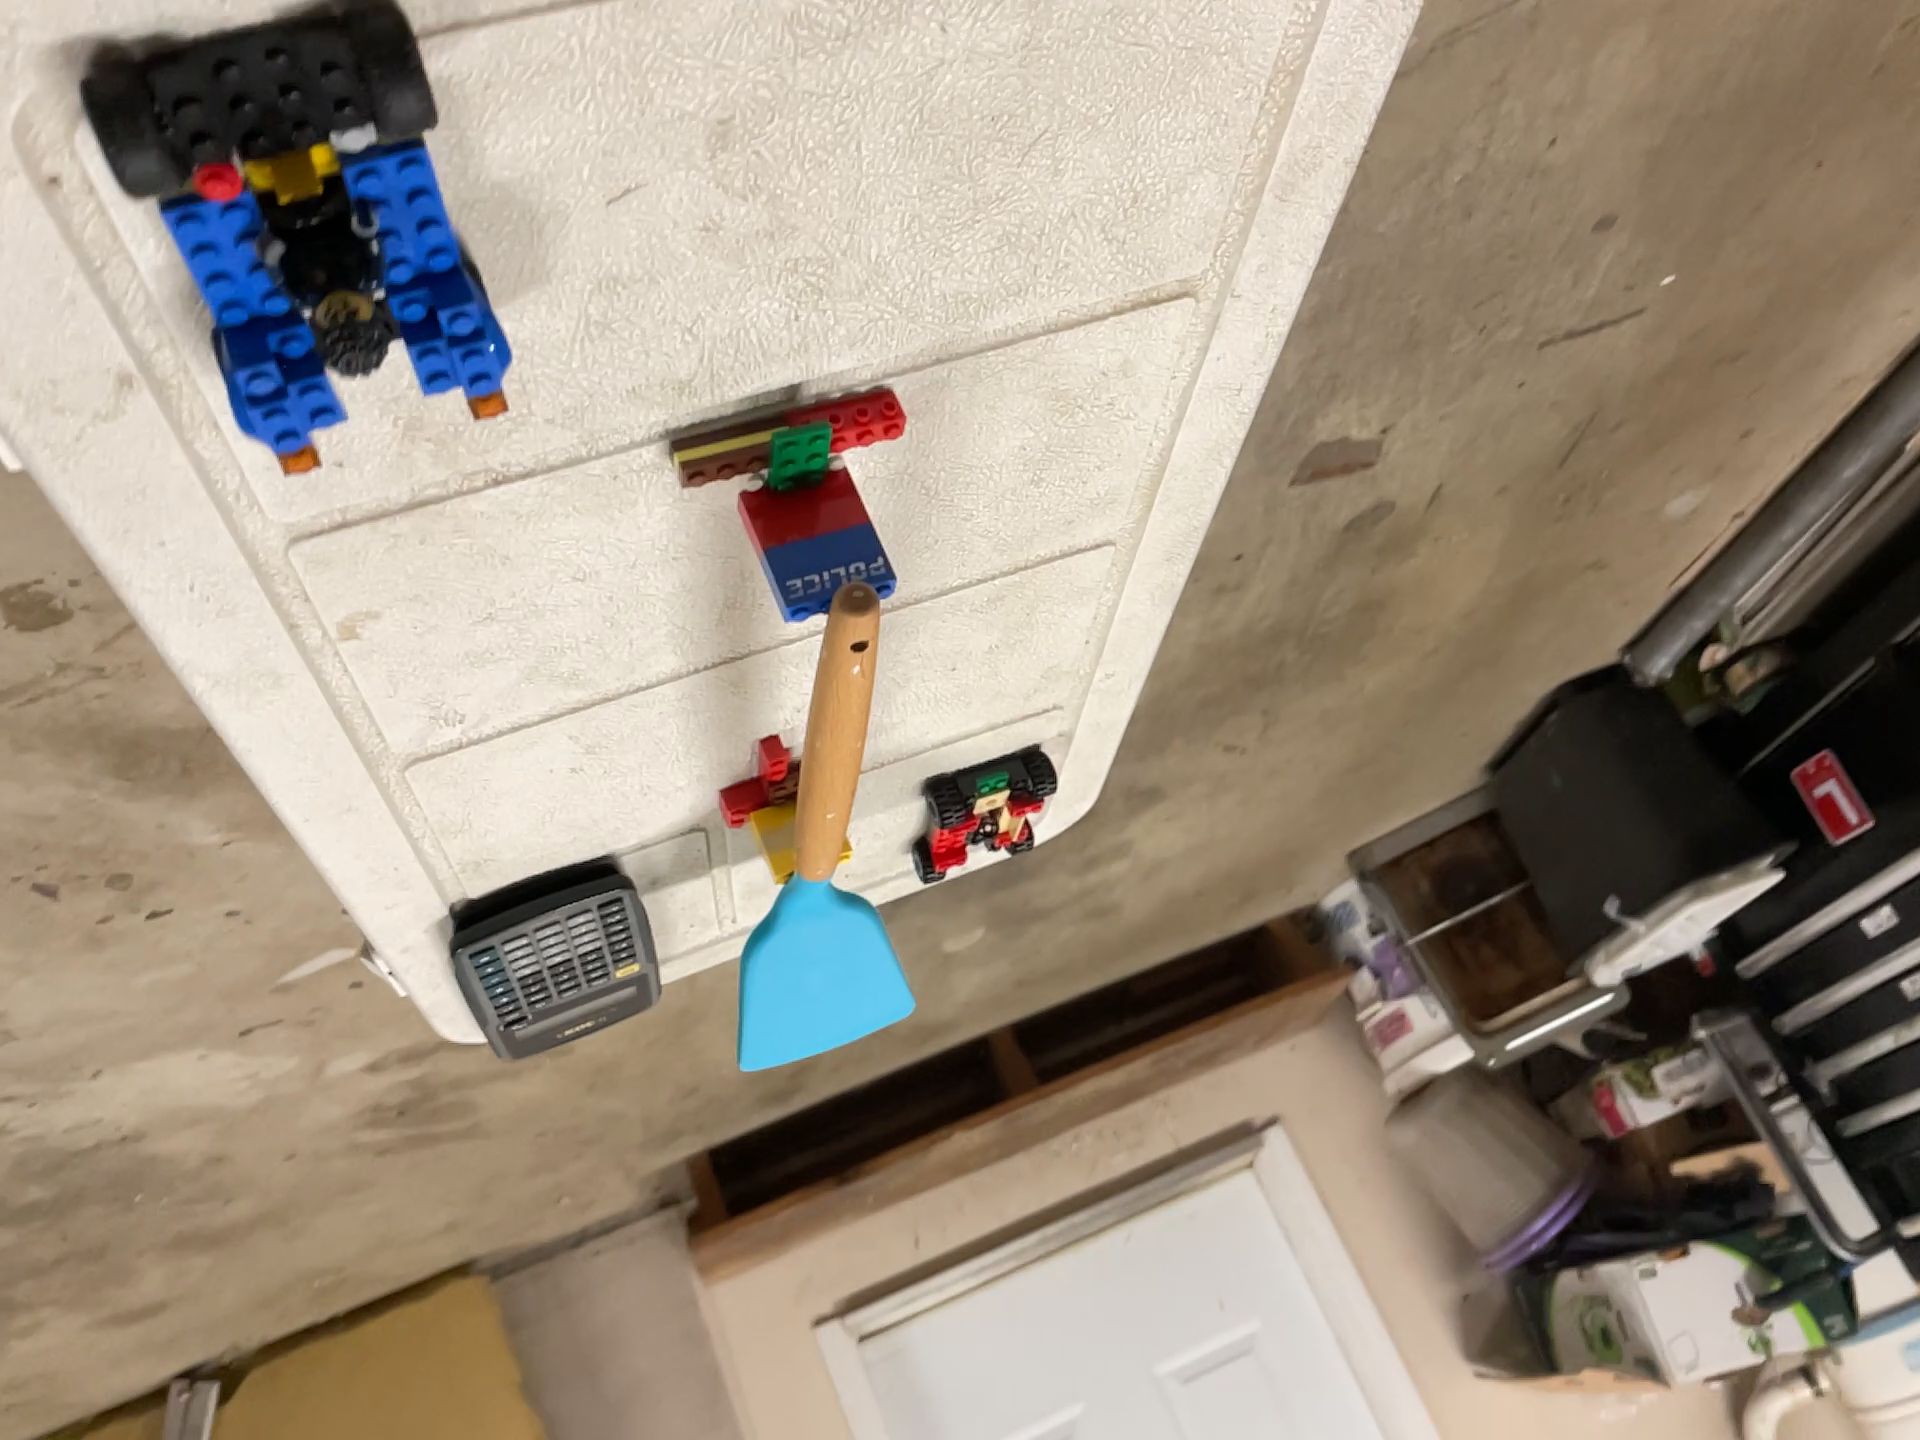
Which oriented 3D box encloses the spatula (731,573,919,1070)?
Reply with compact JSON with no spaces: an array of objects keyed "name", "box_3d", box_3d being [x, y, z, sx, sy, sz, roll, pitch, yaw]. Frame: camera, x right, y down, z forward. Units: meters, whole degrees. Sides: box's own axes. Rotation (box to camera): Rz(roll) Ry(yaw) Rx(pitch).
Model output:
[{"name":"spatula","box_3d":[-0.043,0.047,0.545,0.082,0.044,0.317,-15,156,-16]}]
